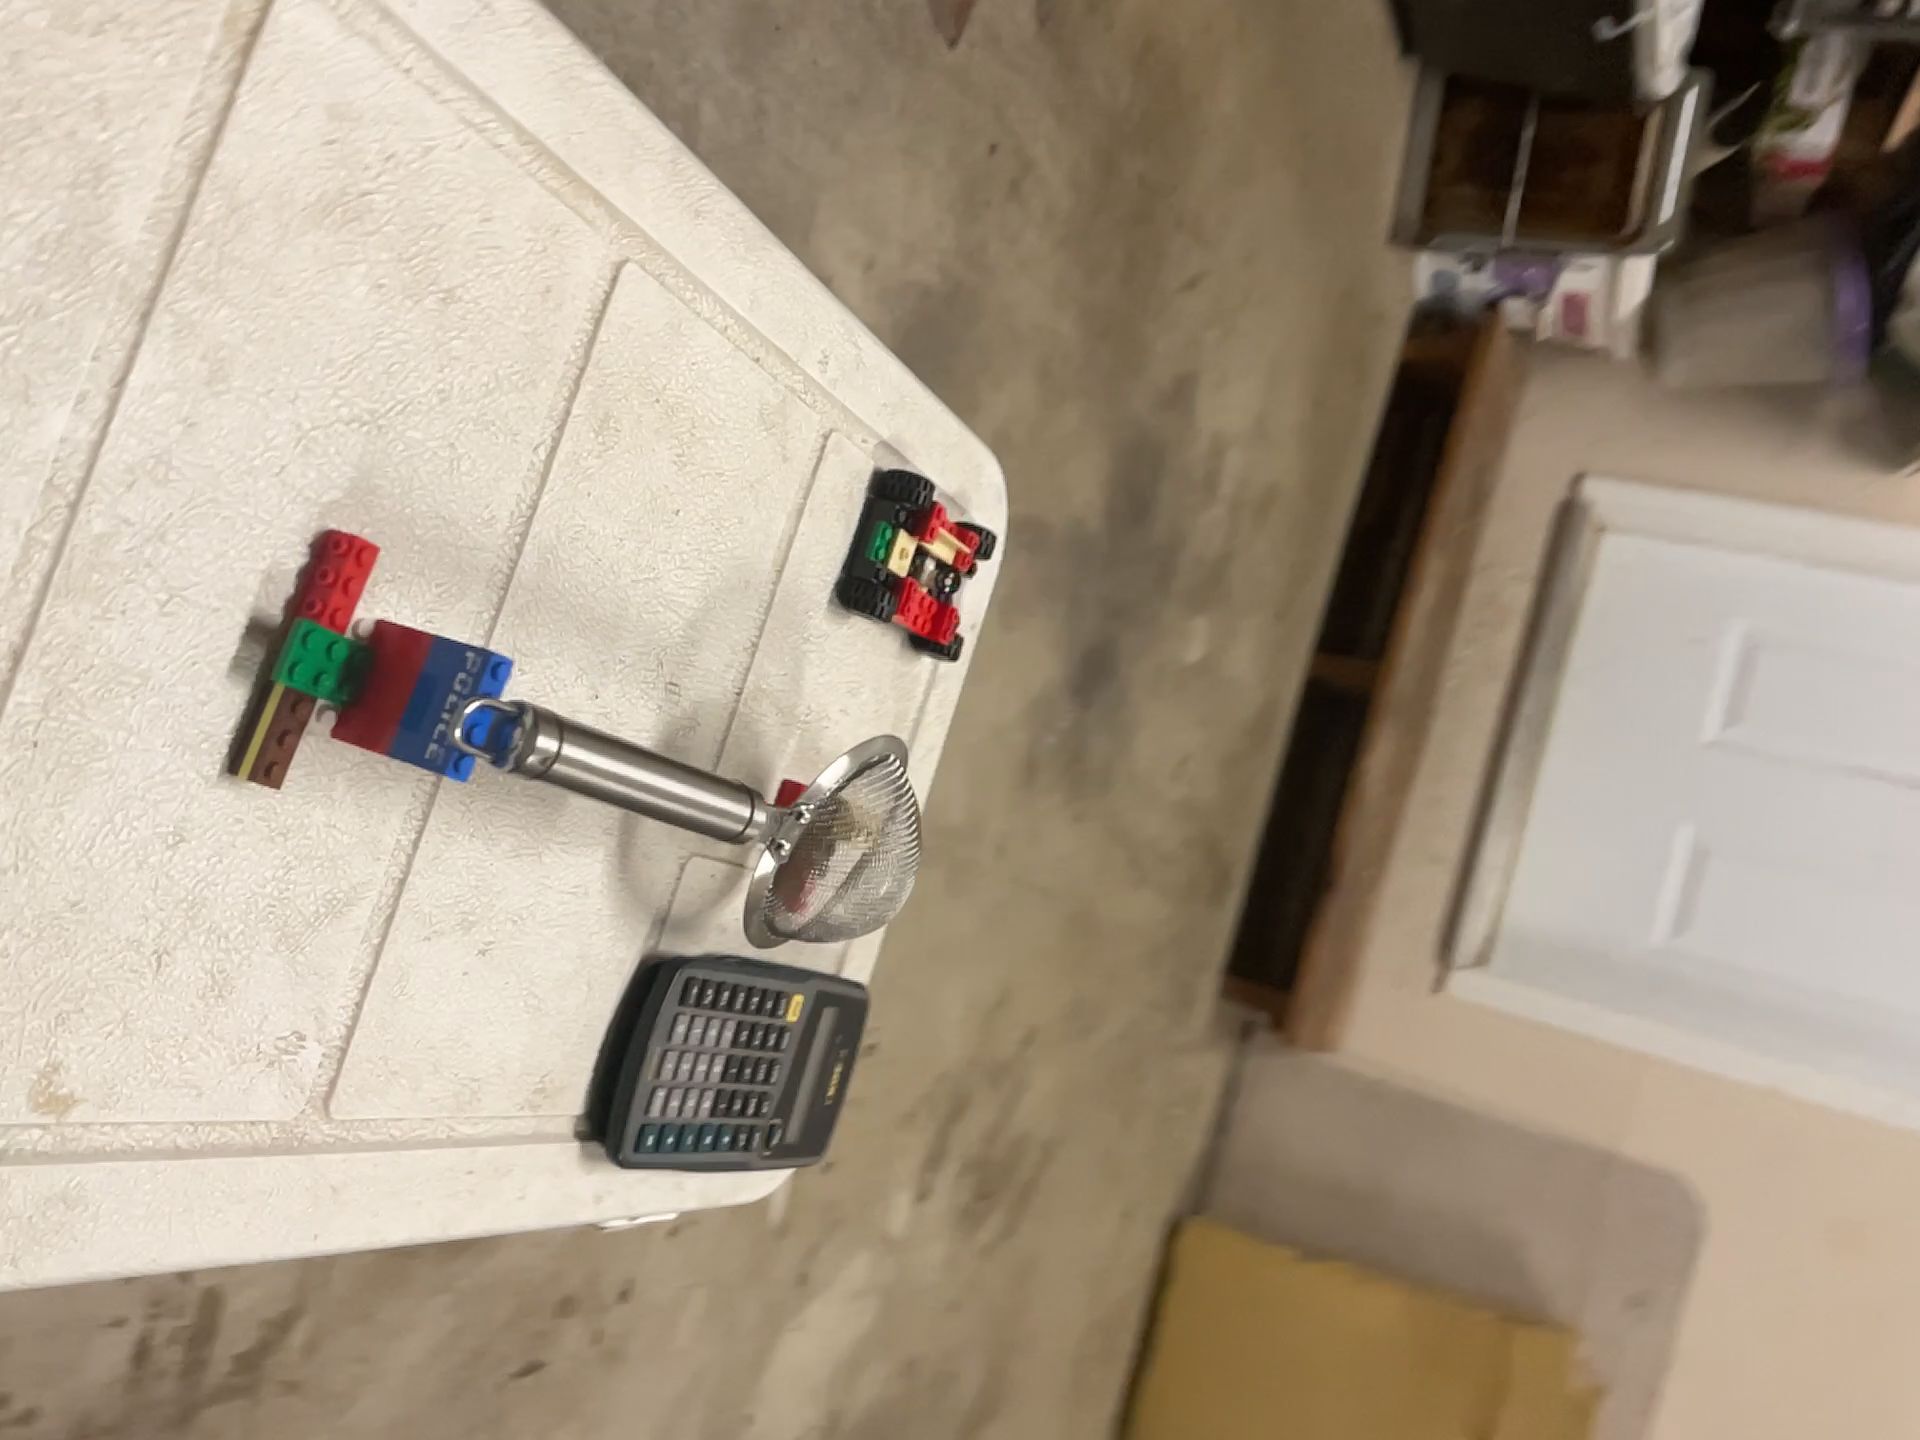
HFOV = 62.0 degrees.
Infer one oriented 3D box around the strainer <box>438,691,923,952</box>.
[{"bbox_3d":[-0.066,0.031,0.481,0.087,0.050,0.258,-58,152,1],"label":"strainer"}]
